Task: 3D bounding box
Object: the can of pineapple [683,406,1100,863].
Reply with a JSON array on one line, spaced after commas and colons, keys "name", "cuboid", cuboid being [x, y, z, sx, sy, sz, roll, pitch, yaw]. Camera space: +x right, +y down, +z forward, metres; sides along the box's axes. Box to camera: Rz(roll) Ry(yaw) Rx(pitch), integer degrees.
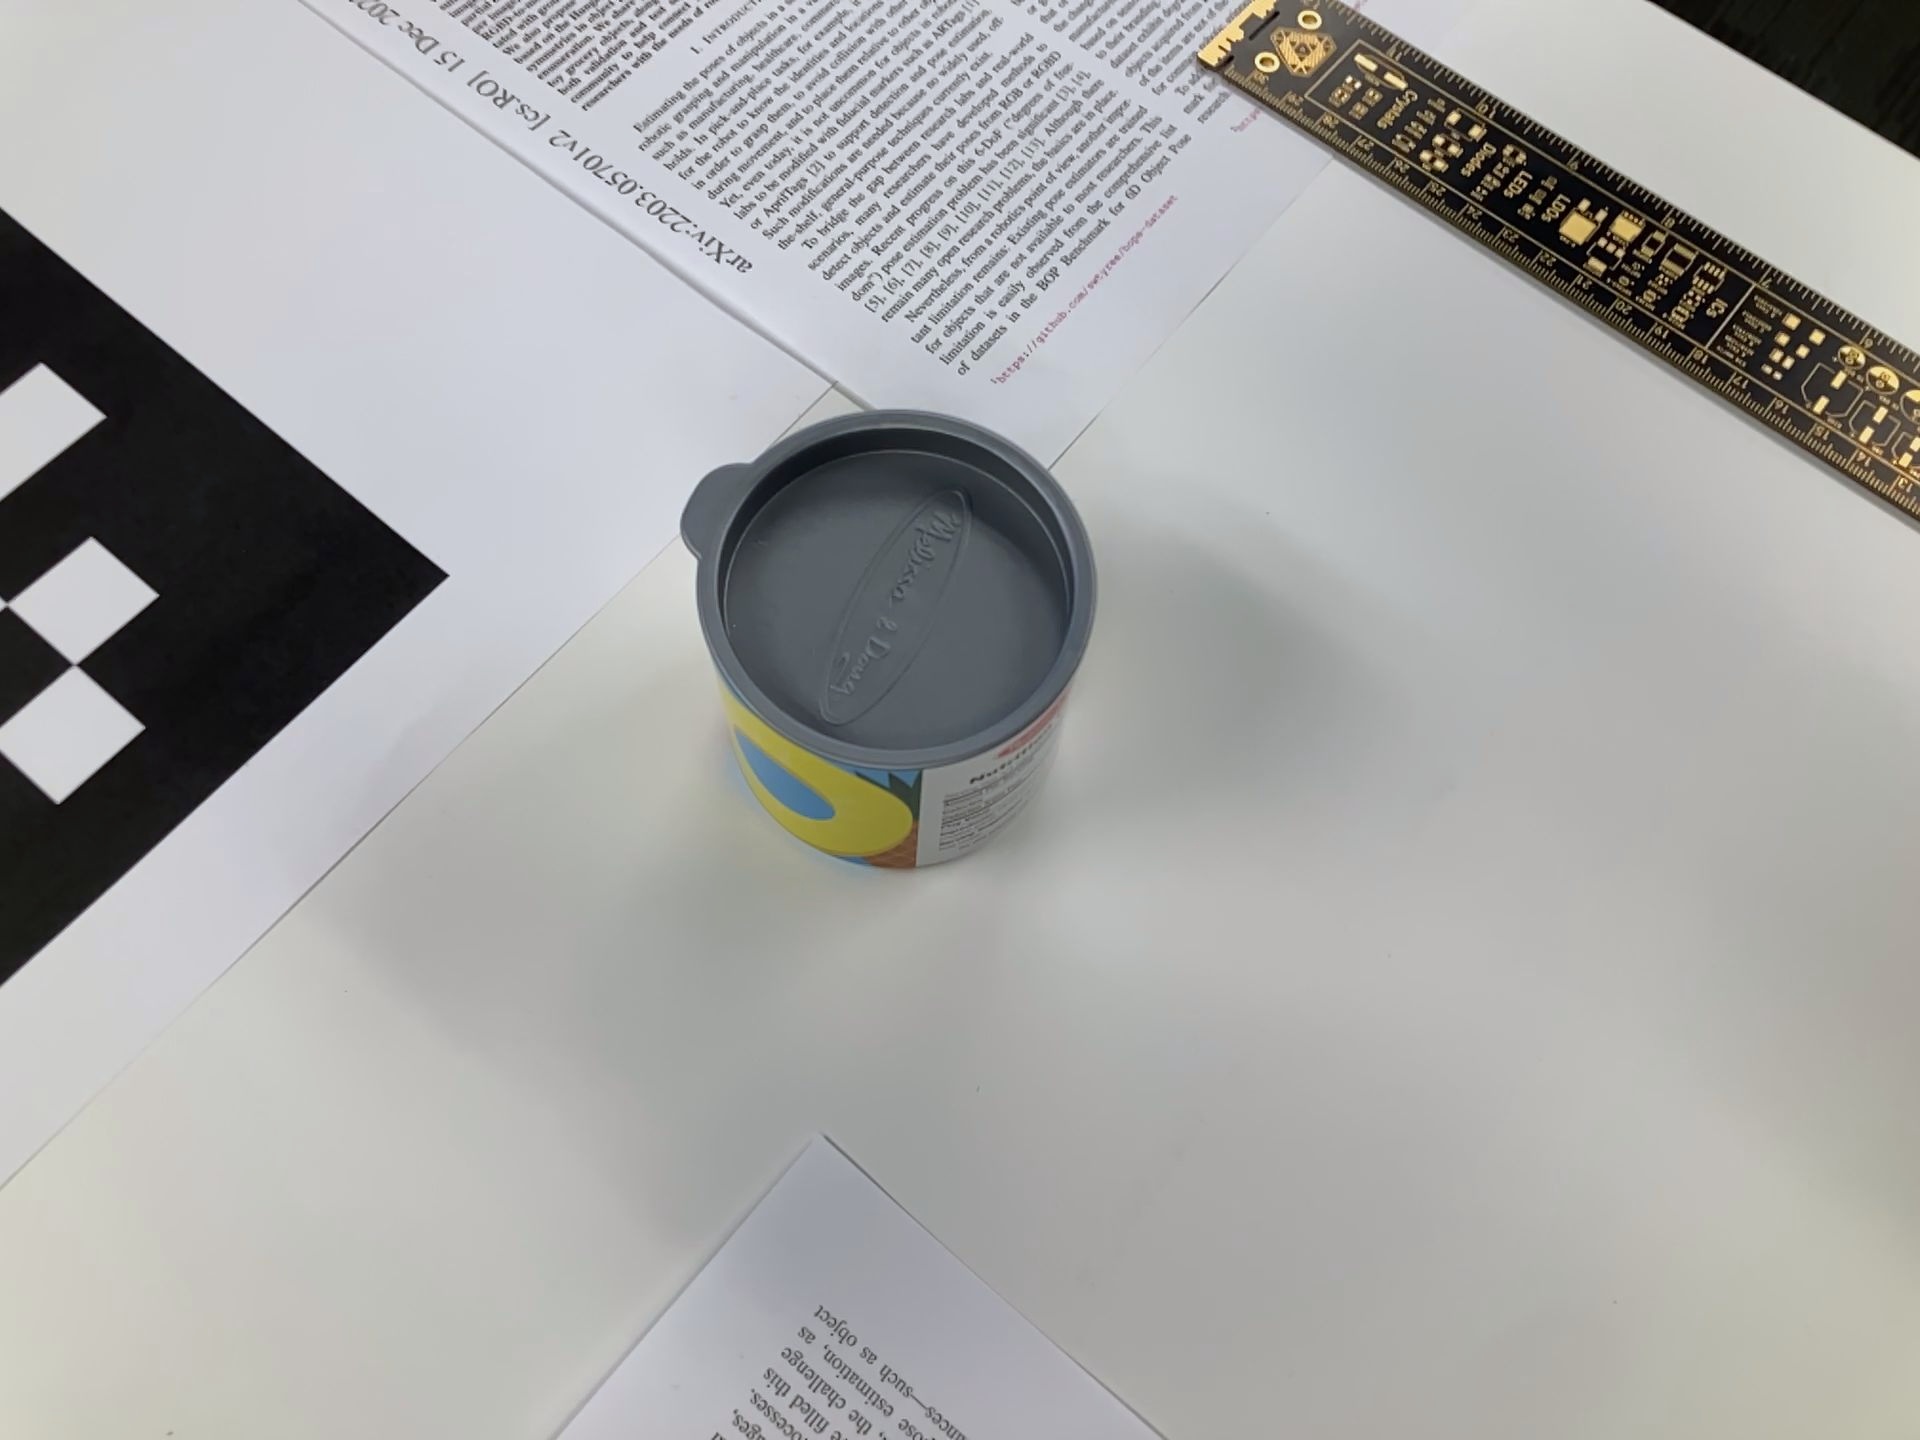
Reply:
[{"name": "can of pineapple", "cuboid": [-0.012, -0.015, 0.288, 0.071, 0.058, 0.071, 1, 67, -3]}]
